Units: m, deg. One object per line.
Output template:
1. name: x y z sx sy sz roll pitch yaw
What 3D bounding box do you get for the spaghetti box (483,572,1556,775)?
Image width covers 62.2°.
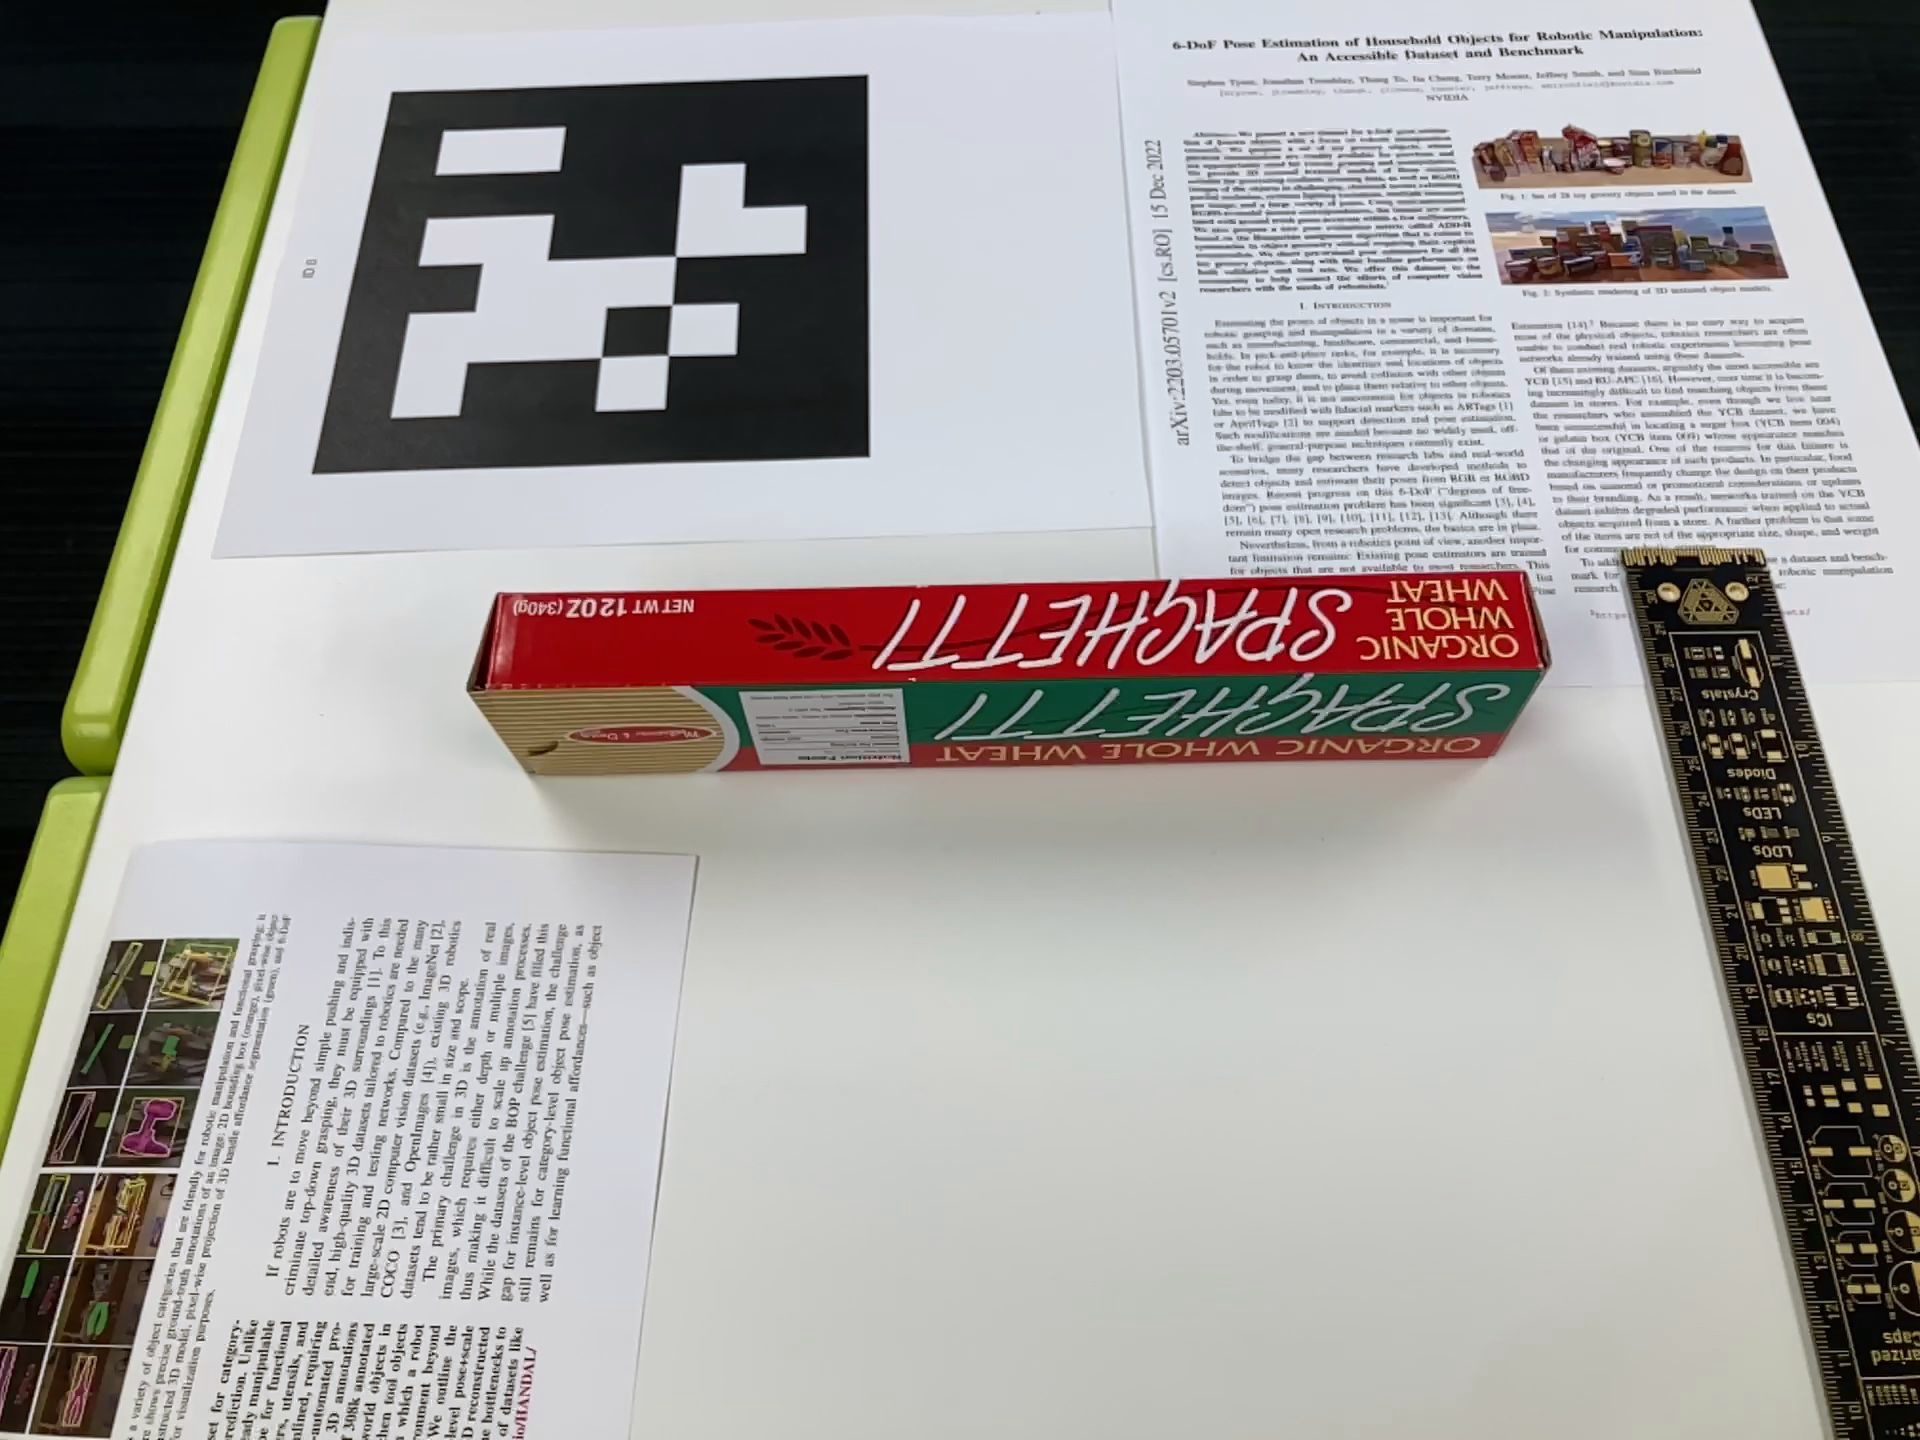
1. spaghetti box: 0.014 -0.010 0.395 0.250 0.050 0.028 -1 63 0
